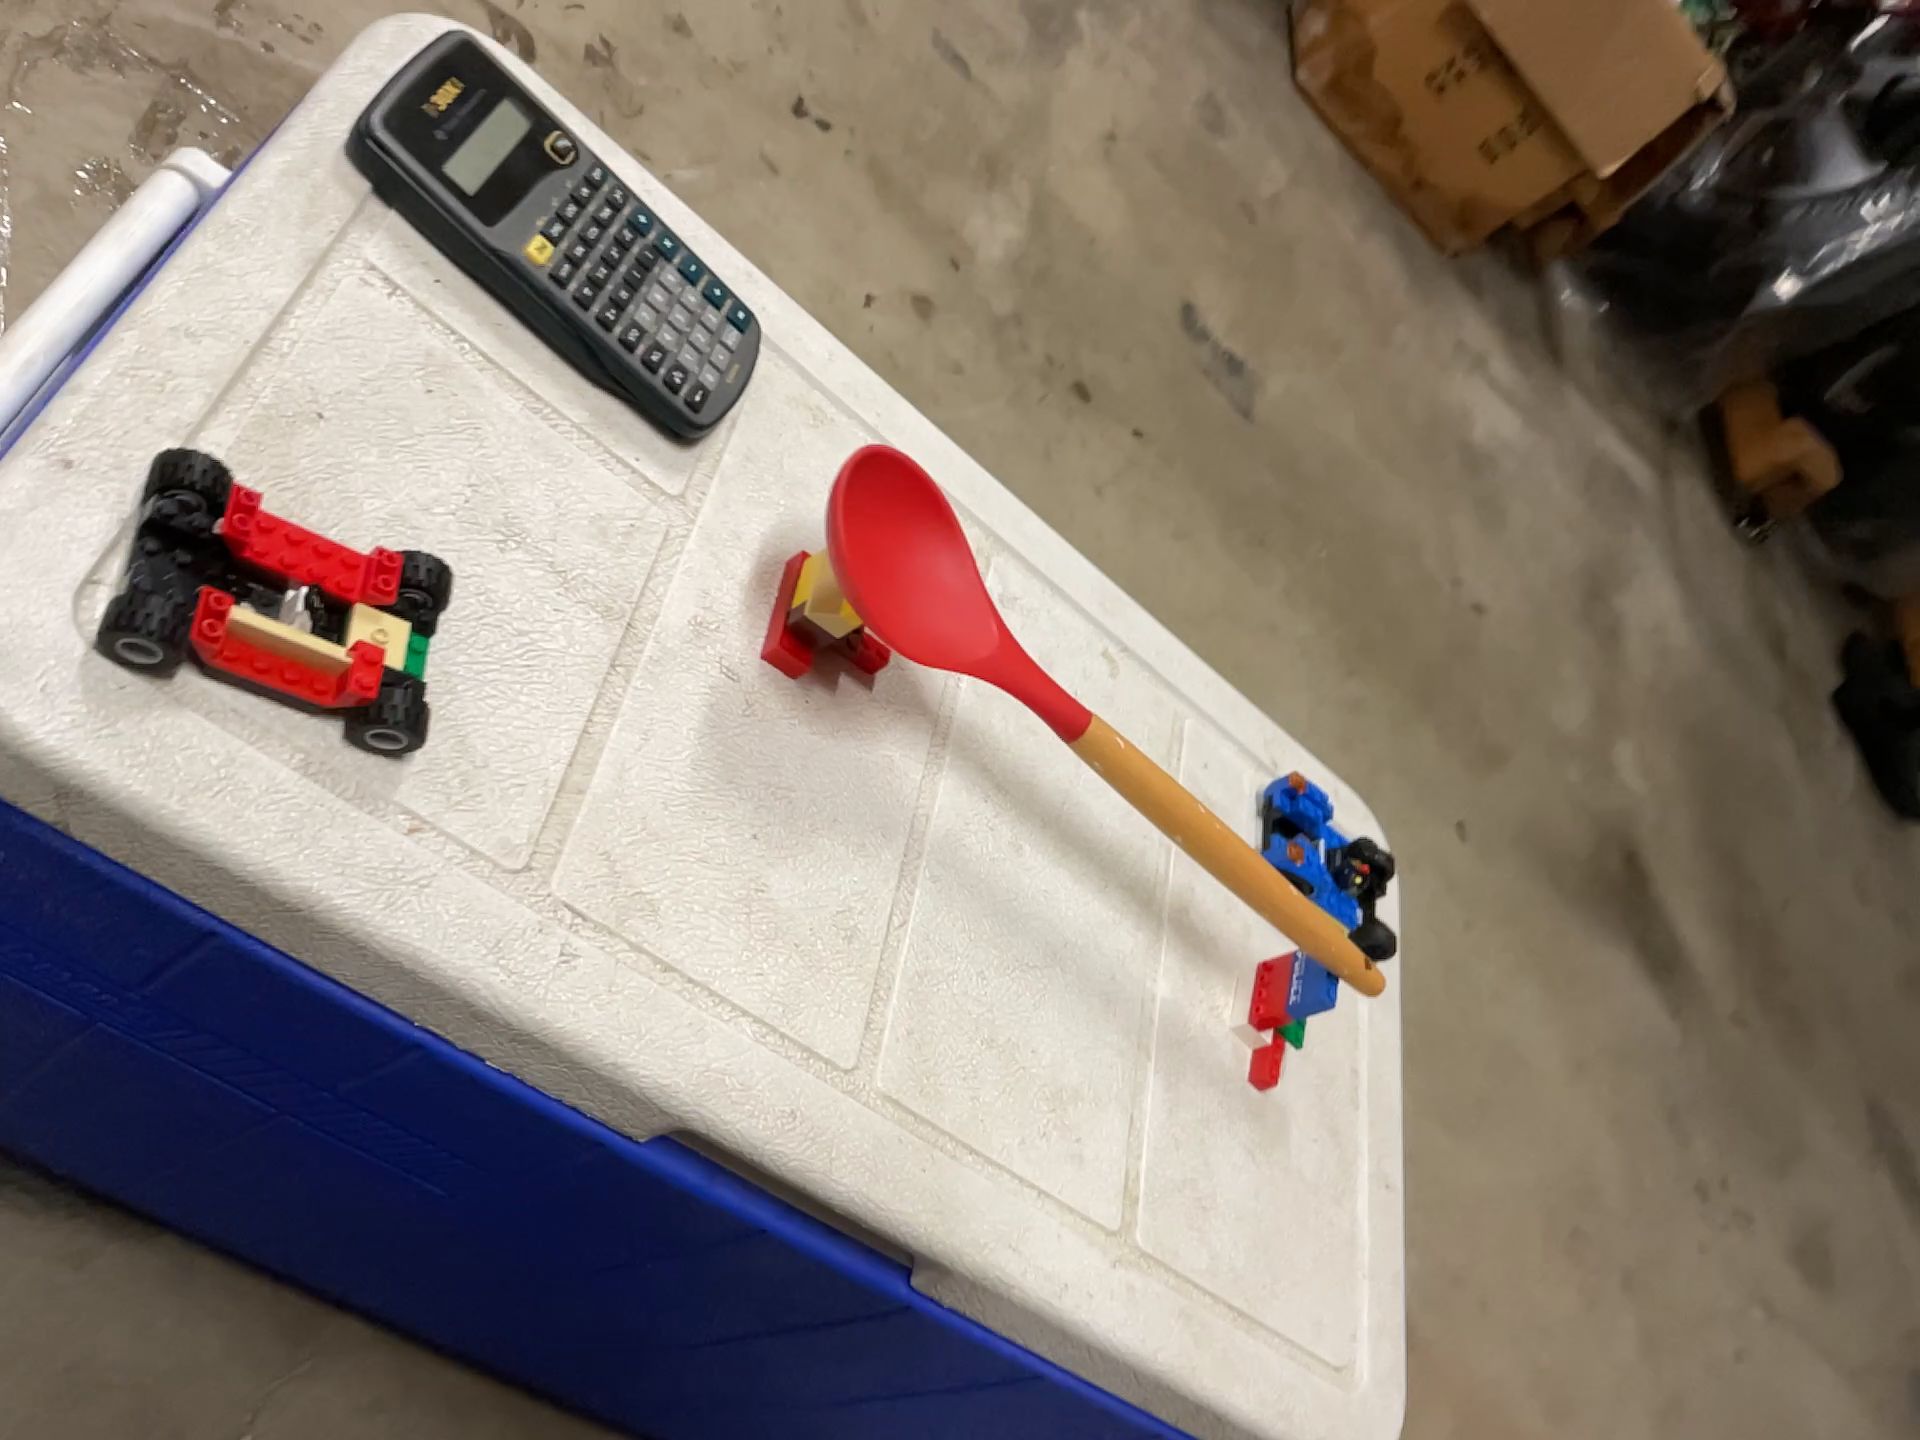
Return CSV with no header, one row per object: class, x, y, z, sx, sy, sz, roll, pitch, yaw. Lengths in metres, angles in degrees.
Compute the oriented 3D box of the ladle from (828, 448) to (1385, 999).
ladle,0.062,0.017,0.590,0.315,0.031,0.069,41,48,-25
